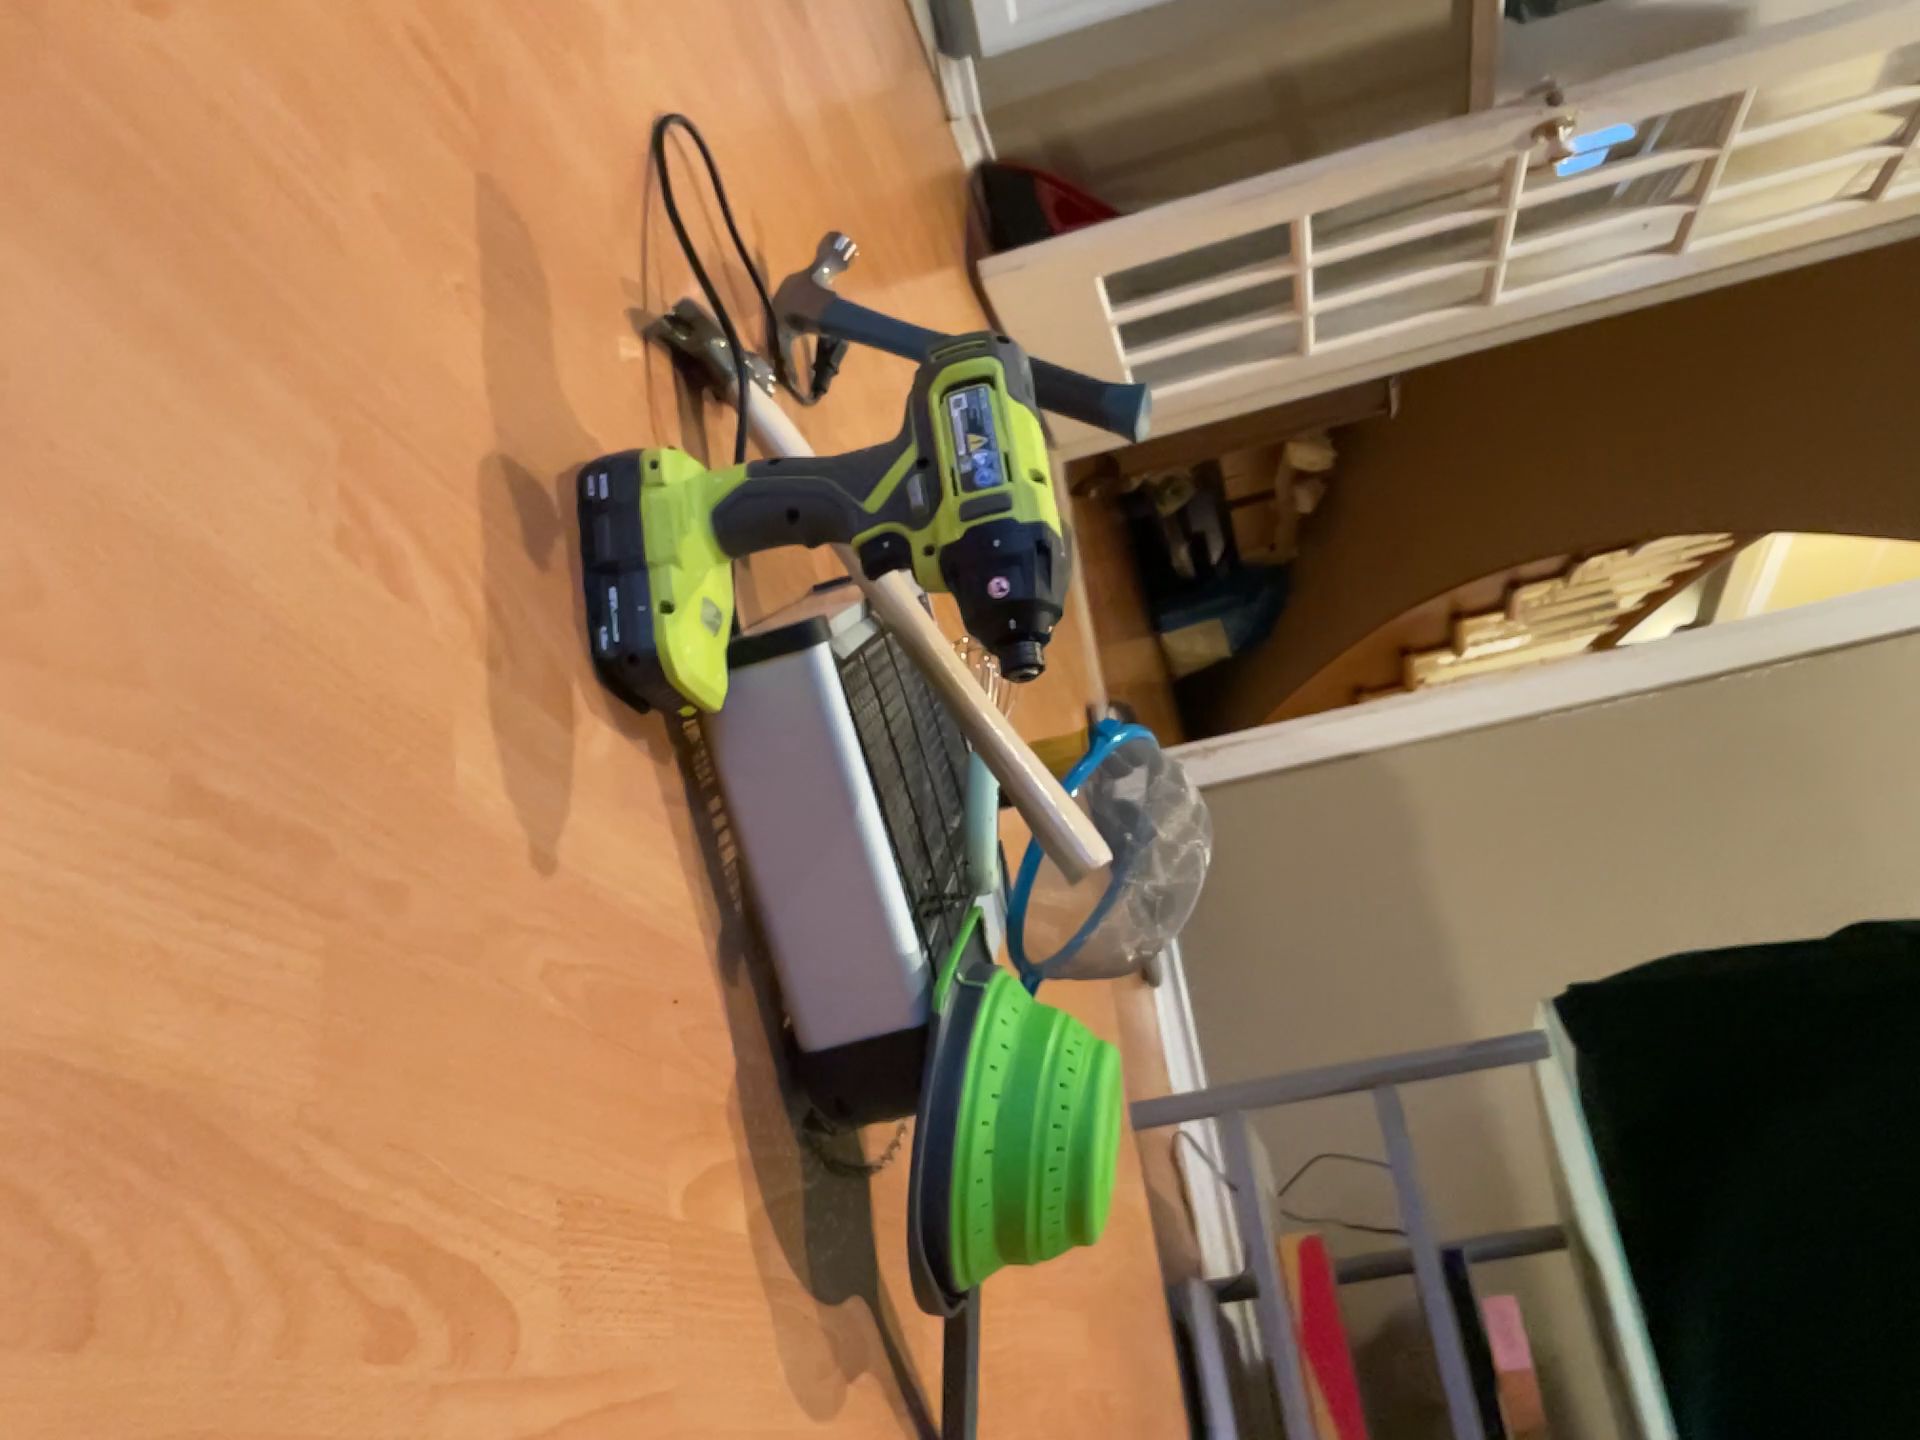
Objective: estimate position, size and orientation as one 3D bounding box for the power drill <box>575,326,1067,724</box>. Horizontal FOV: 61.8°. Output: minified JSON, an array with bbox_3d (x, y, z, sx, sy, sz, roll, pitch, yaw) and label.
[{"bbox_3d":[-0.063,-0.081,0.769,0.080,0.223,0.171,51,28,-67],"label":"power drill"}]

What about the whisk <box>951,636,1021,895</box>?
[{"bbox_3d":[0.016,0.023,1.113,0.246,0.059,0.057,-88,-168,-45],"label":"whisk"}]

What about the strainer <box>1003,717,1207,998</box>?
[{"bbox_3d":[0.102,0.174,1.205,0.211,0.095,0.340,28,85,-63],"label":"strainer"}]

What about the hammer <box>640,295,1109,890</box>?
[{"bbox_3d":[-0.046,-0.075,0.946,0.410,0.038,0.146,54,6,10],"label":"hammer"}]

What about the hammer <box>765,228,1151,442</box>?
[{"bbox_3d":[-0.005,-0.267,1.160,0.128,0.331,0.033,-56,151,-17],"label":"hammer"}]

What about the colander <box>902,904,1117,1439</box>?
[{"bbox_3d":[0.035,0.304,0.923,0.205,0.094,0.396,-59,152,-66],"label":"colander"}]
